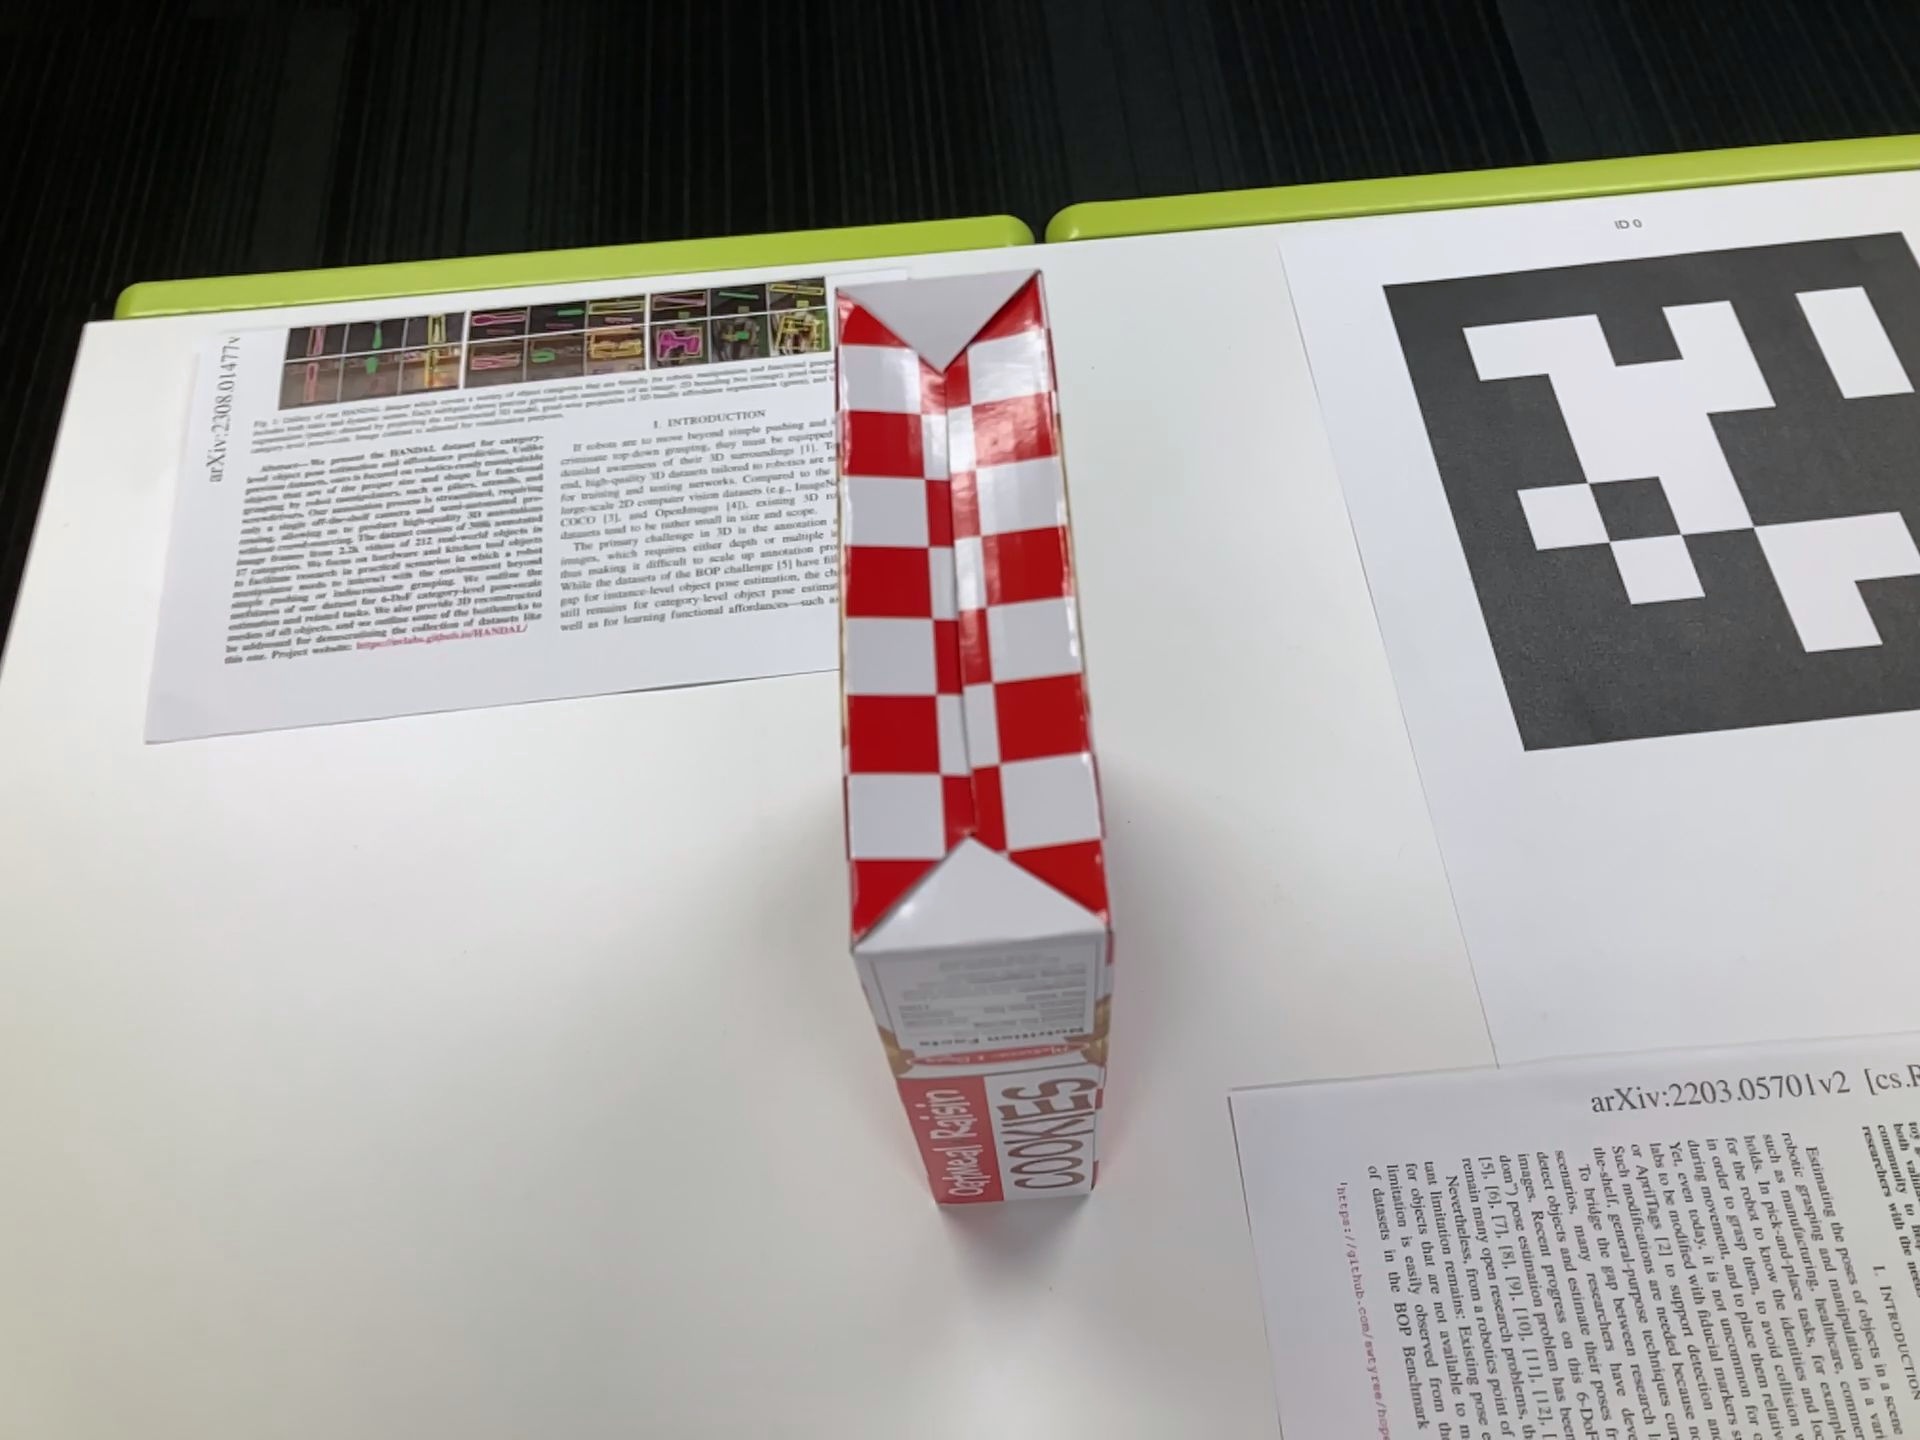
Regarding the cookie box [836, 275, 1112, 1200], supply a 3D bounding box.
[{"bbox_3d":[0.005,0.016,0.319,0.040,0.167,0.123,-4,61,1],"label":"cookie box"}]
